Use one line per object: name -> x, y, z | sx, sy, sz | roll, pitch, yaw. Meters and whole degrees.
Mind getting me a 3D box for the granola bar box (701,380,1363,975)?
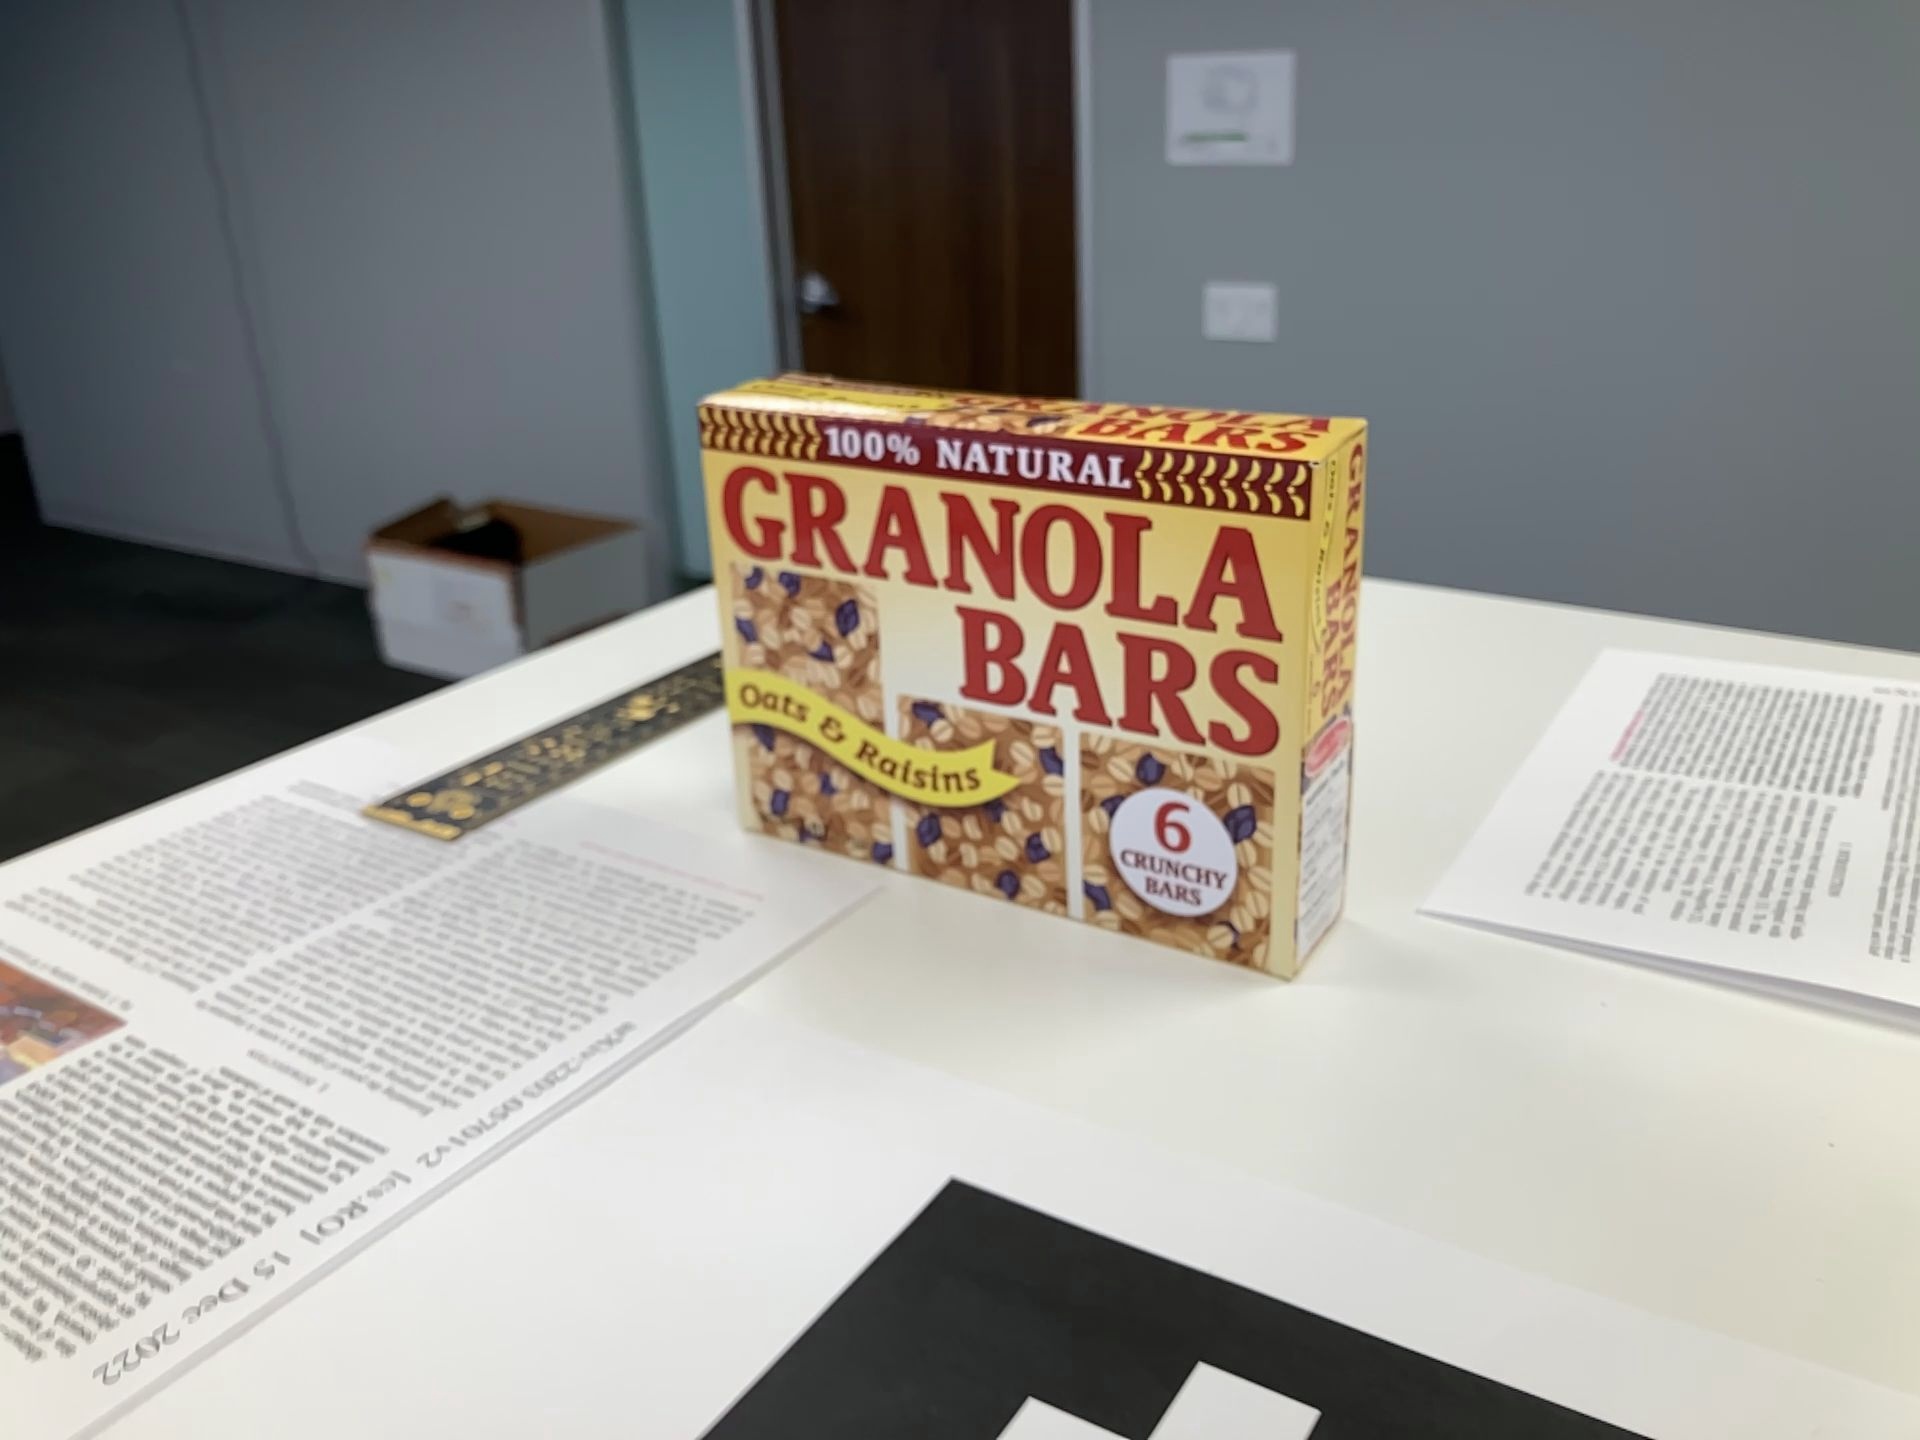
granola bar box -> 0.015, -0.017, 0.404 | 0.165, 0.124, 0.039 | 11, 26, 31
